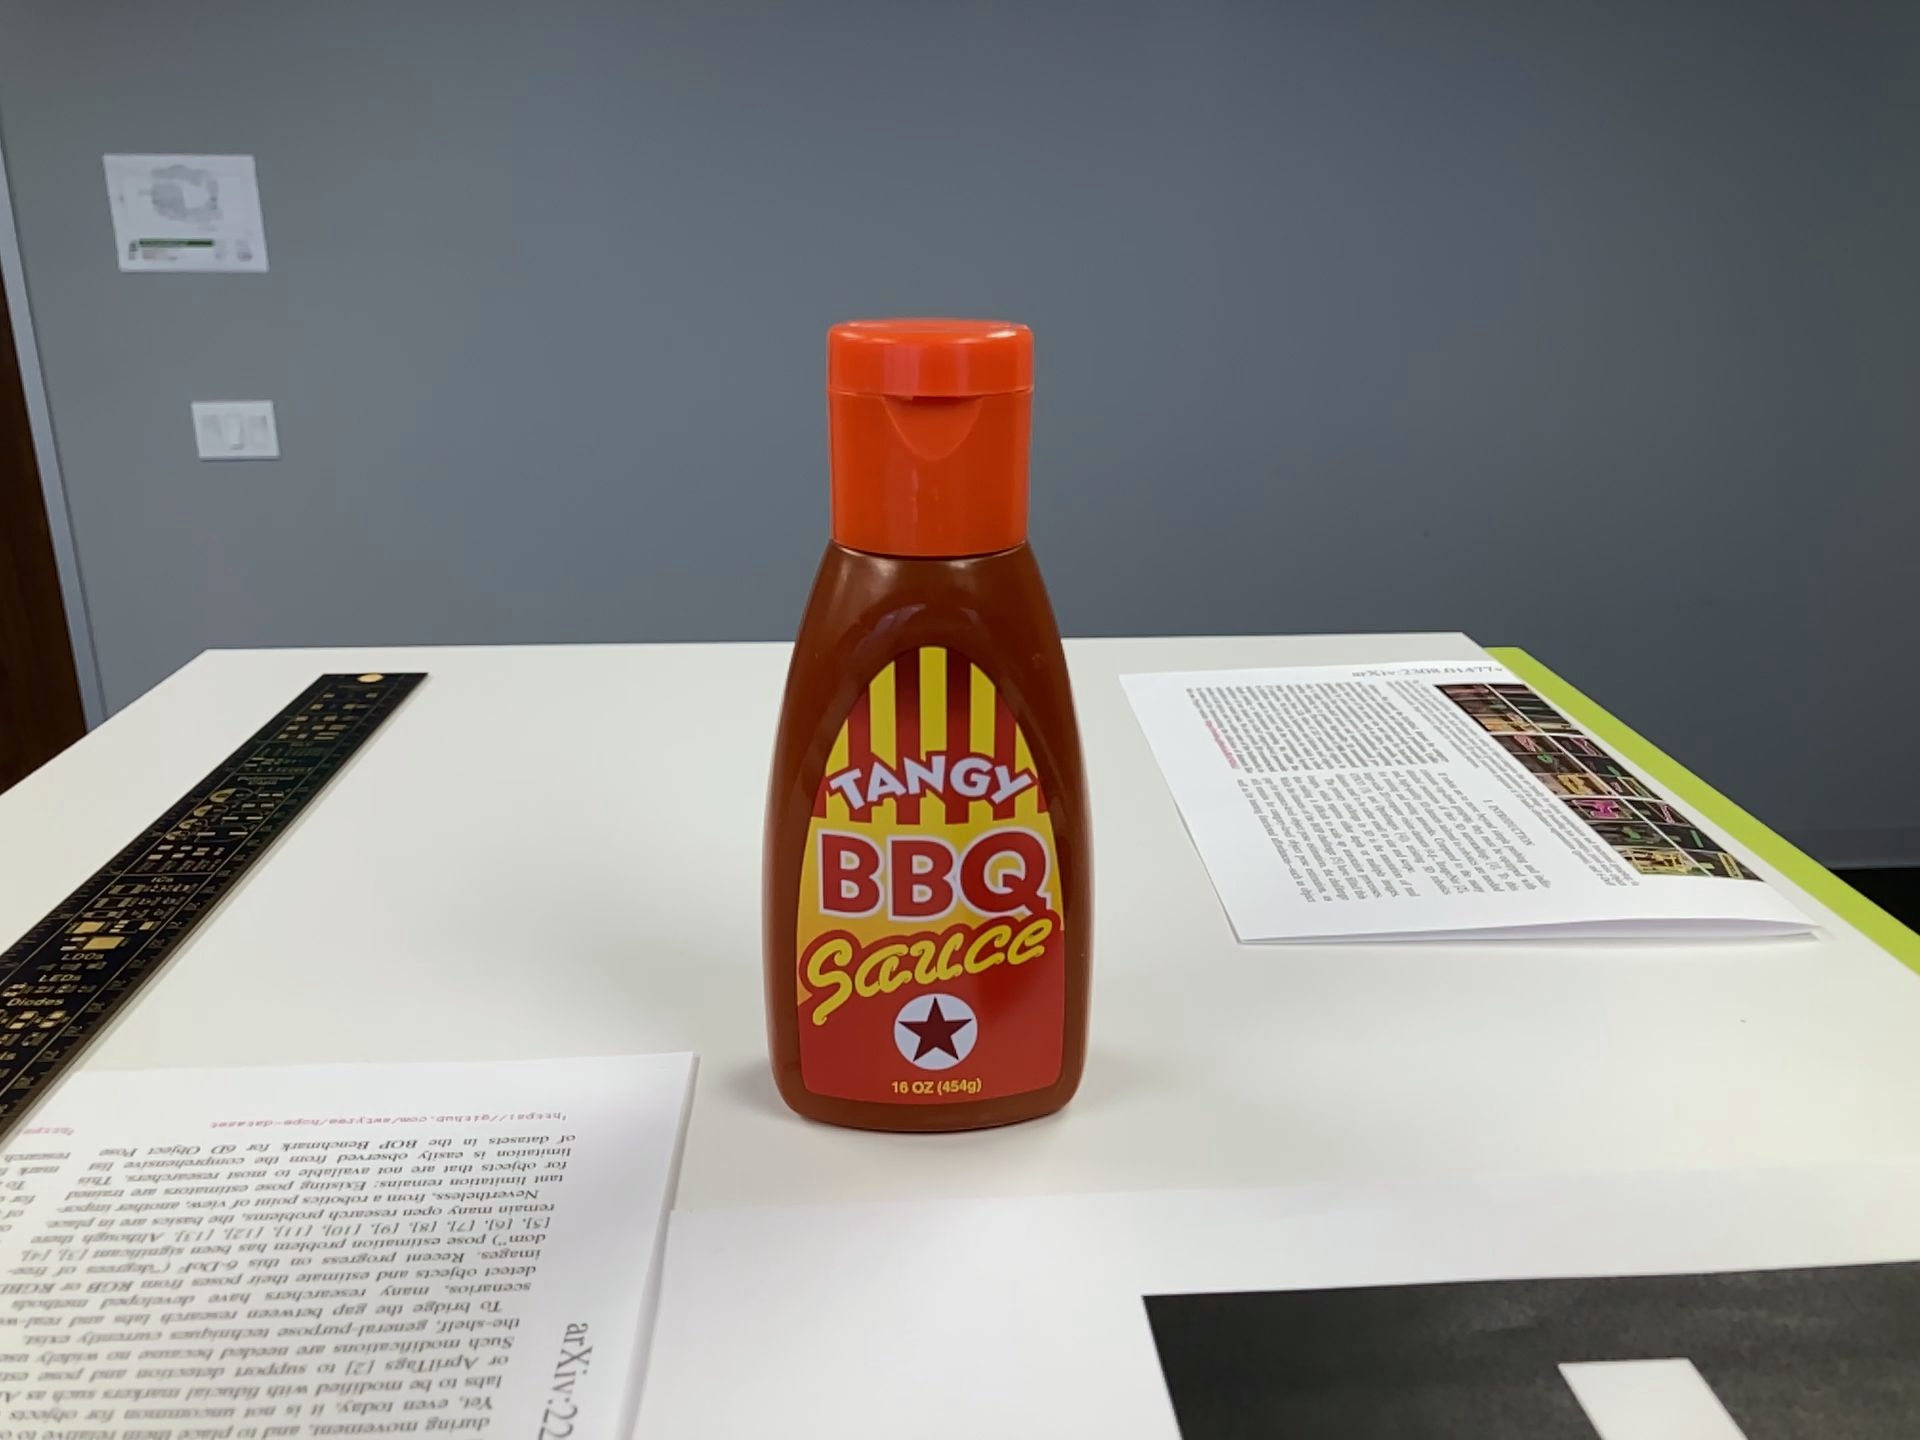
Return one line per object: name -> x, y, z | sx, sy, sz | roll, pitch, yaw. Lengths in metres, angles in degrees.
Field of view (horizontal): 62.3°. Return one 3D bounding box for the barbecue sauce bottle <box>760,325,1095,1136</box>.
barbecue sauce bottle -> -0.006, 0.003, 0.298 | 0.065, 0.148, 0.043 | 0, 17, -2
